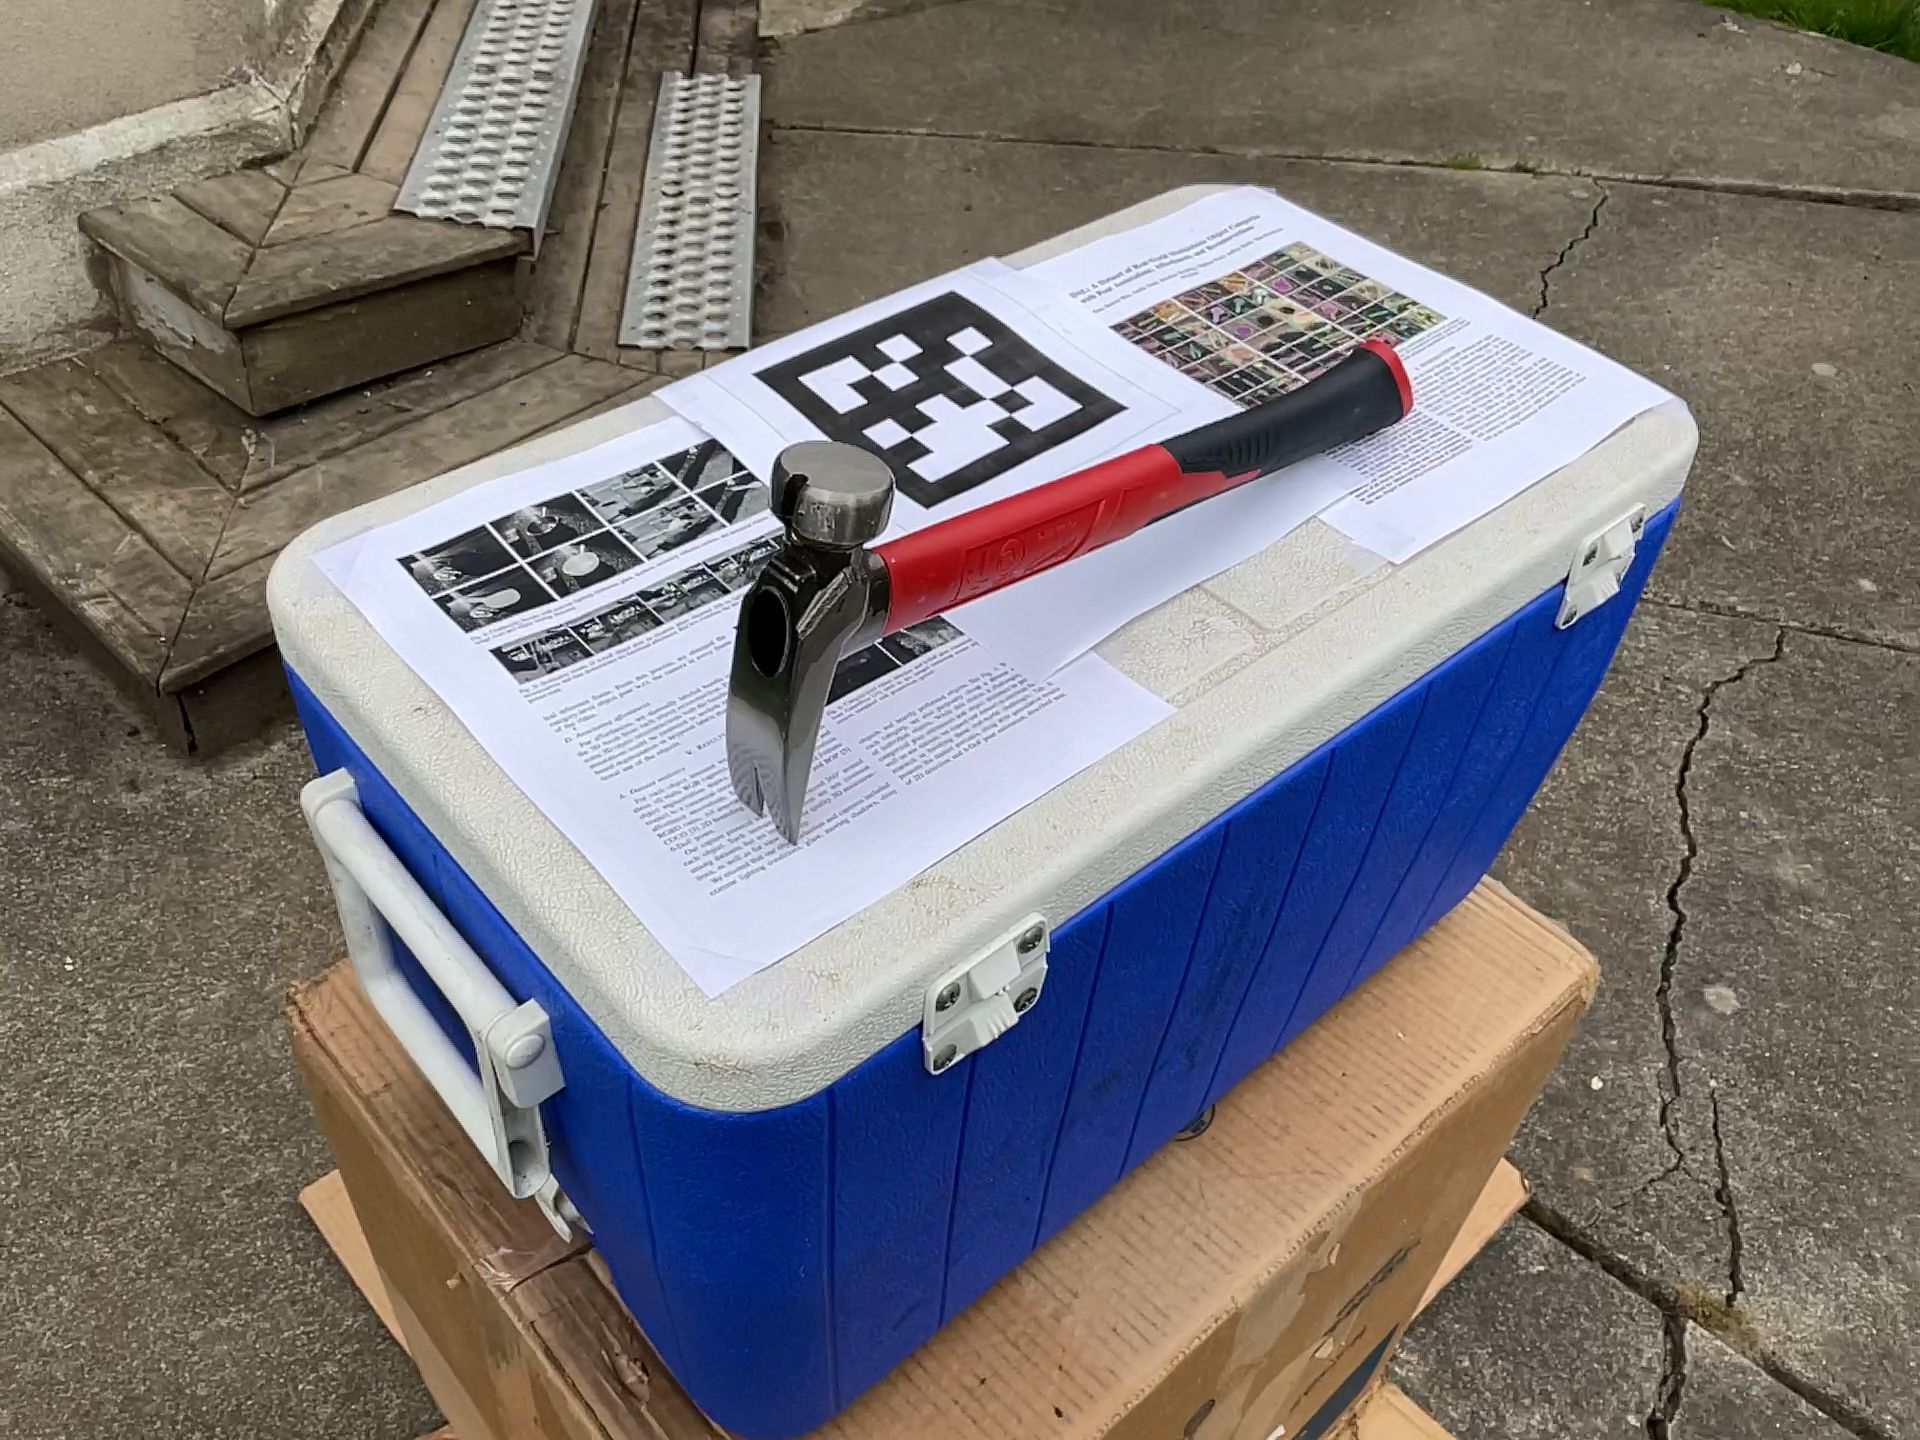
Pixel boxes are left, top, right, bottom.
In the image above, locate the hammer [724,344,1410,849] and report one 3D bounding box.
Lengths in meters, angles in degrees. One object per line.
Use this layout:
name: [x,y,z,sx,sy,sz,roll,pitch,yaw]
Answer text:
hammer: [0.065,-0.077,0.636,0.038,0.143,0.386,36,41,28]
